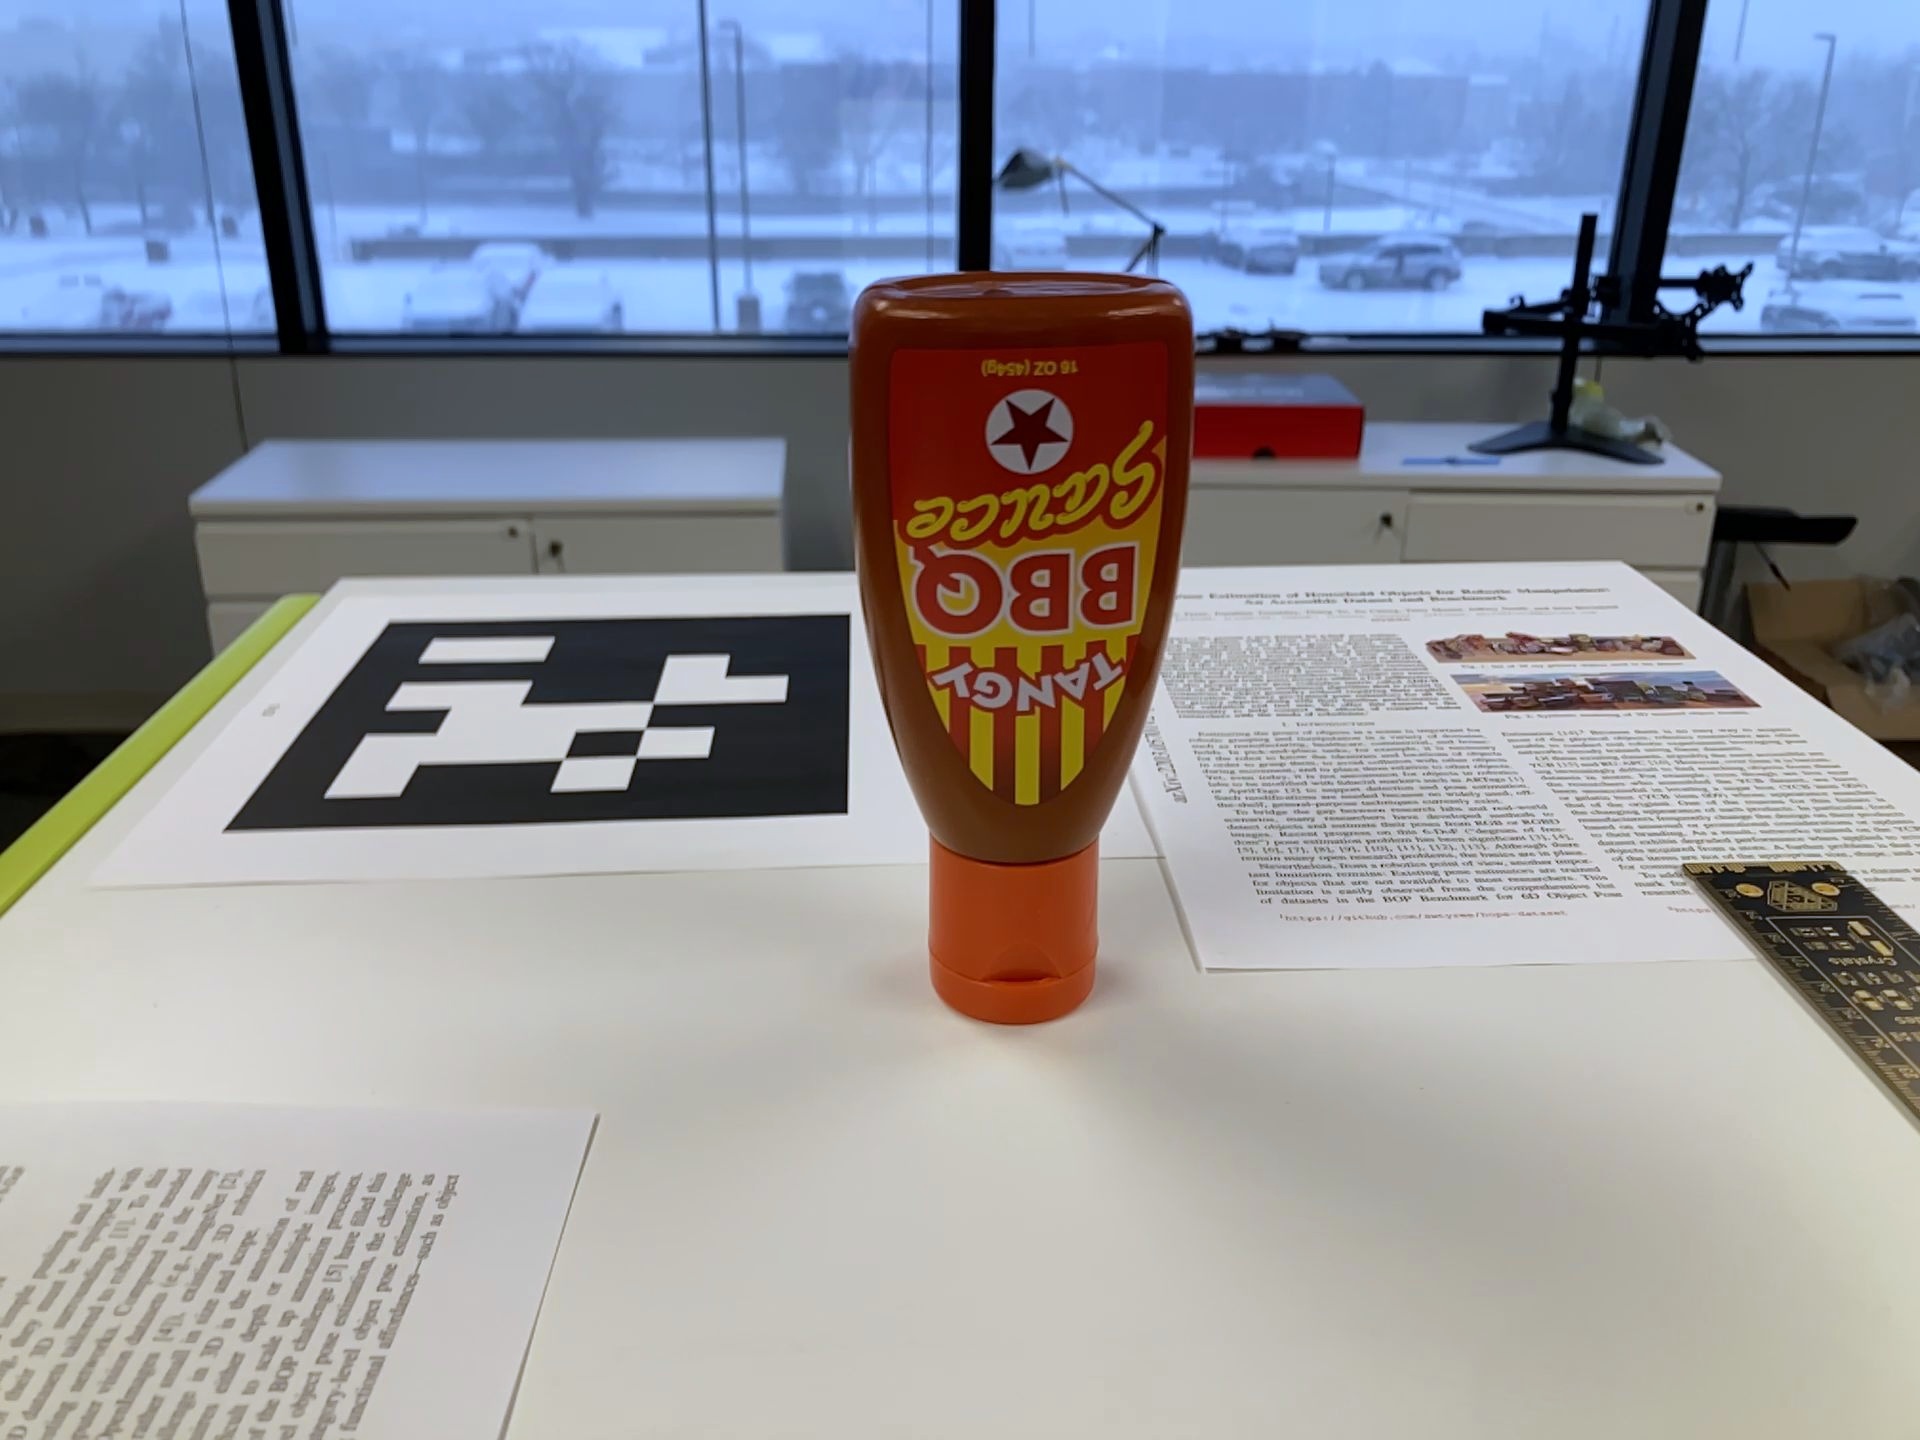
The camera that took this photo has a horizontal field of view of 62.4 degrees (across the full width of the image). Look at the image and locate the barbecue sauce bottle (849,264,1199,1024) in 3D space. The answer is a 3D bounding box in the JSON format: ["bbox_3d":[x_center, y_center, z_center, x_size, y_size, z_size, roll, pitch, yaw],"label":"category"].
[{"bbox_3d":[0.011,-0.012,0.315,0.065,0.148,0.043,-2,22,-4],"label":"barbecue sauce bottle"}]
